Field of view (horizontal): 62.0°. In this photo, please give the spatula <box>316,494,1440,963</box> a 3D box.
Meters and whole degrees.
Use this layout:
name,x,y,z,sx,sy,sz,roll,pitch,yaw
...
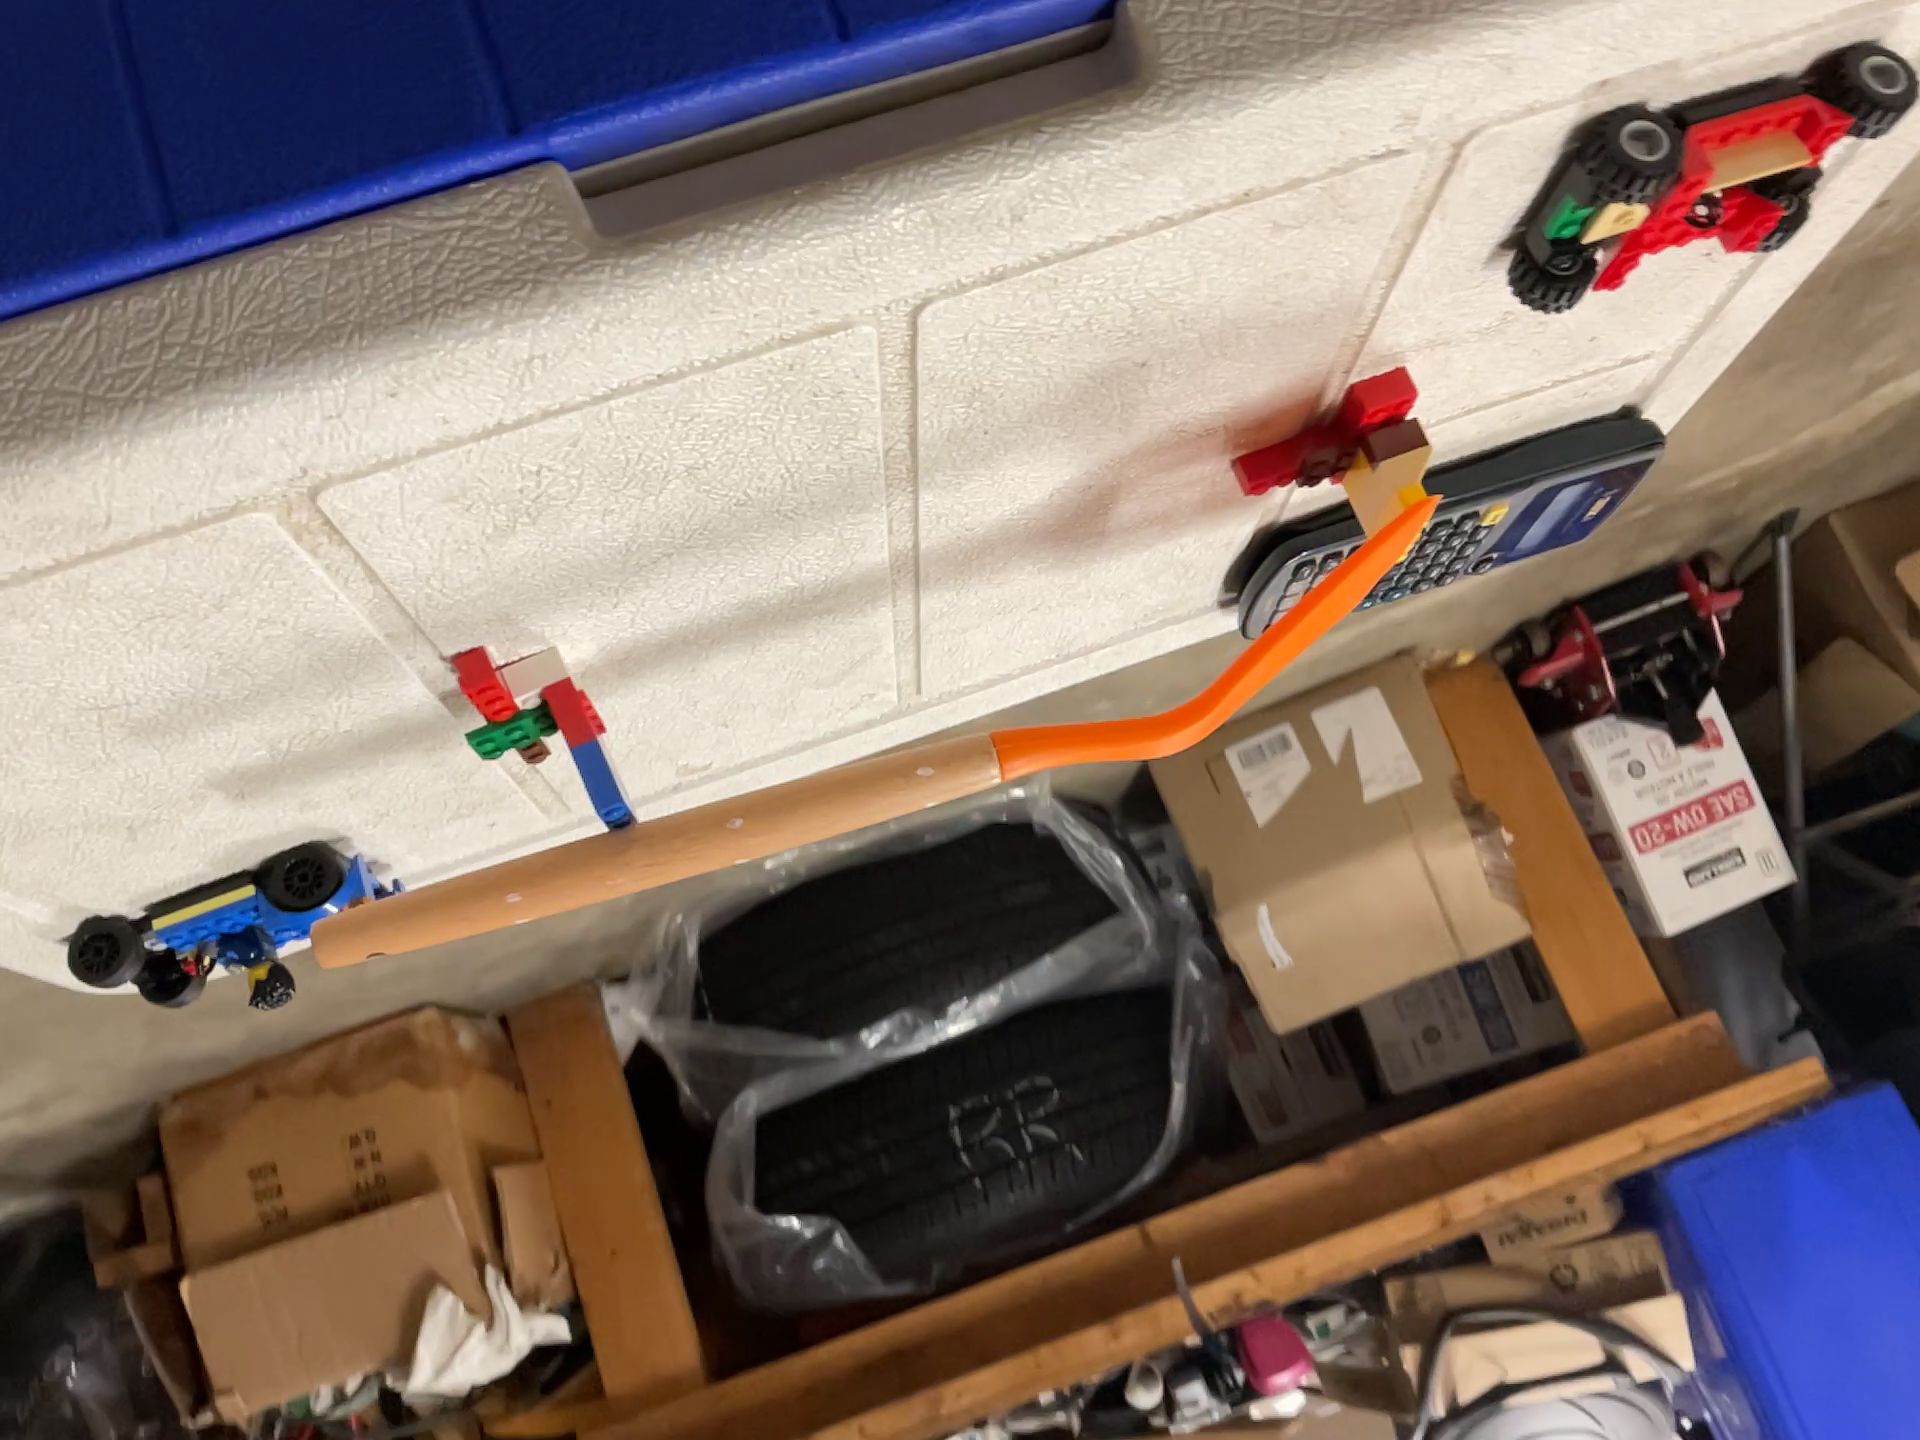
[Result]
name,x,y,z,sx,sy,sz,roll,pitch,yaw
spatula,-0.016,0.008,0.444,0.322,0.041,0.081,-15,164,-7
